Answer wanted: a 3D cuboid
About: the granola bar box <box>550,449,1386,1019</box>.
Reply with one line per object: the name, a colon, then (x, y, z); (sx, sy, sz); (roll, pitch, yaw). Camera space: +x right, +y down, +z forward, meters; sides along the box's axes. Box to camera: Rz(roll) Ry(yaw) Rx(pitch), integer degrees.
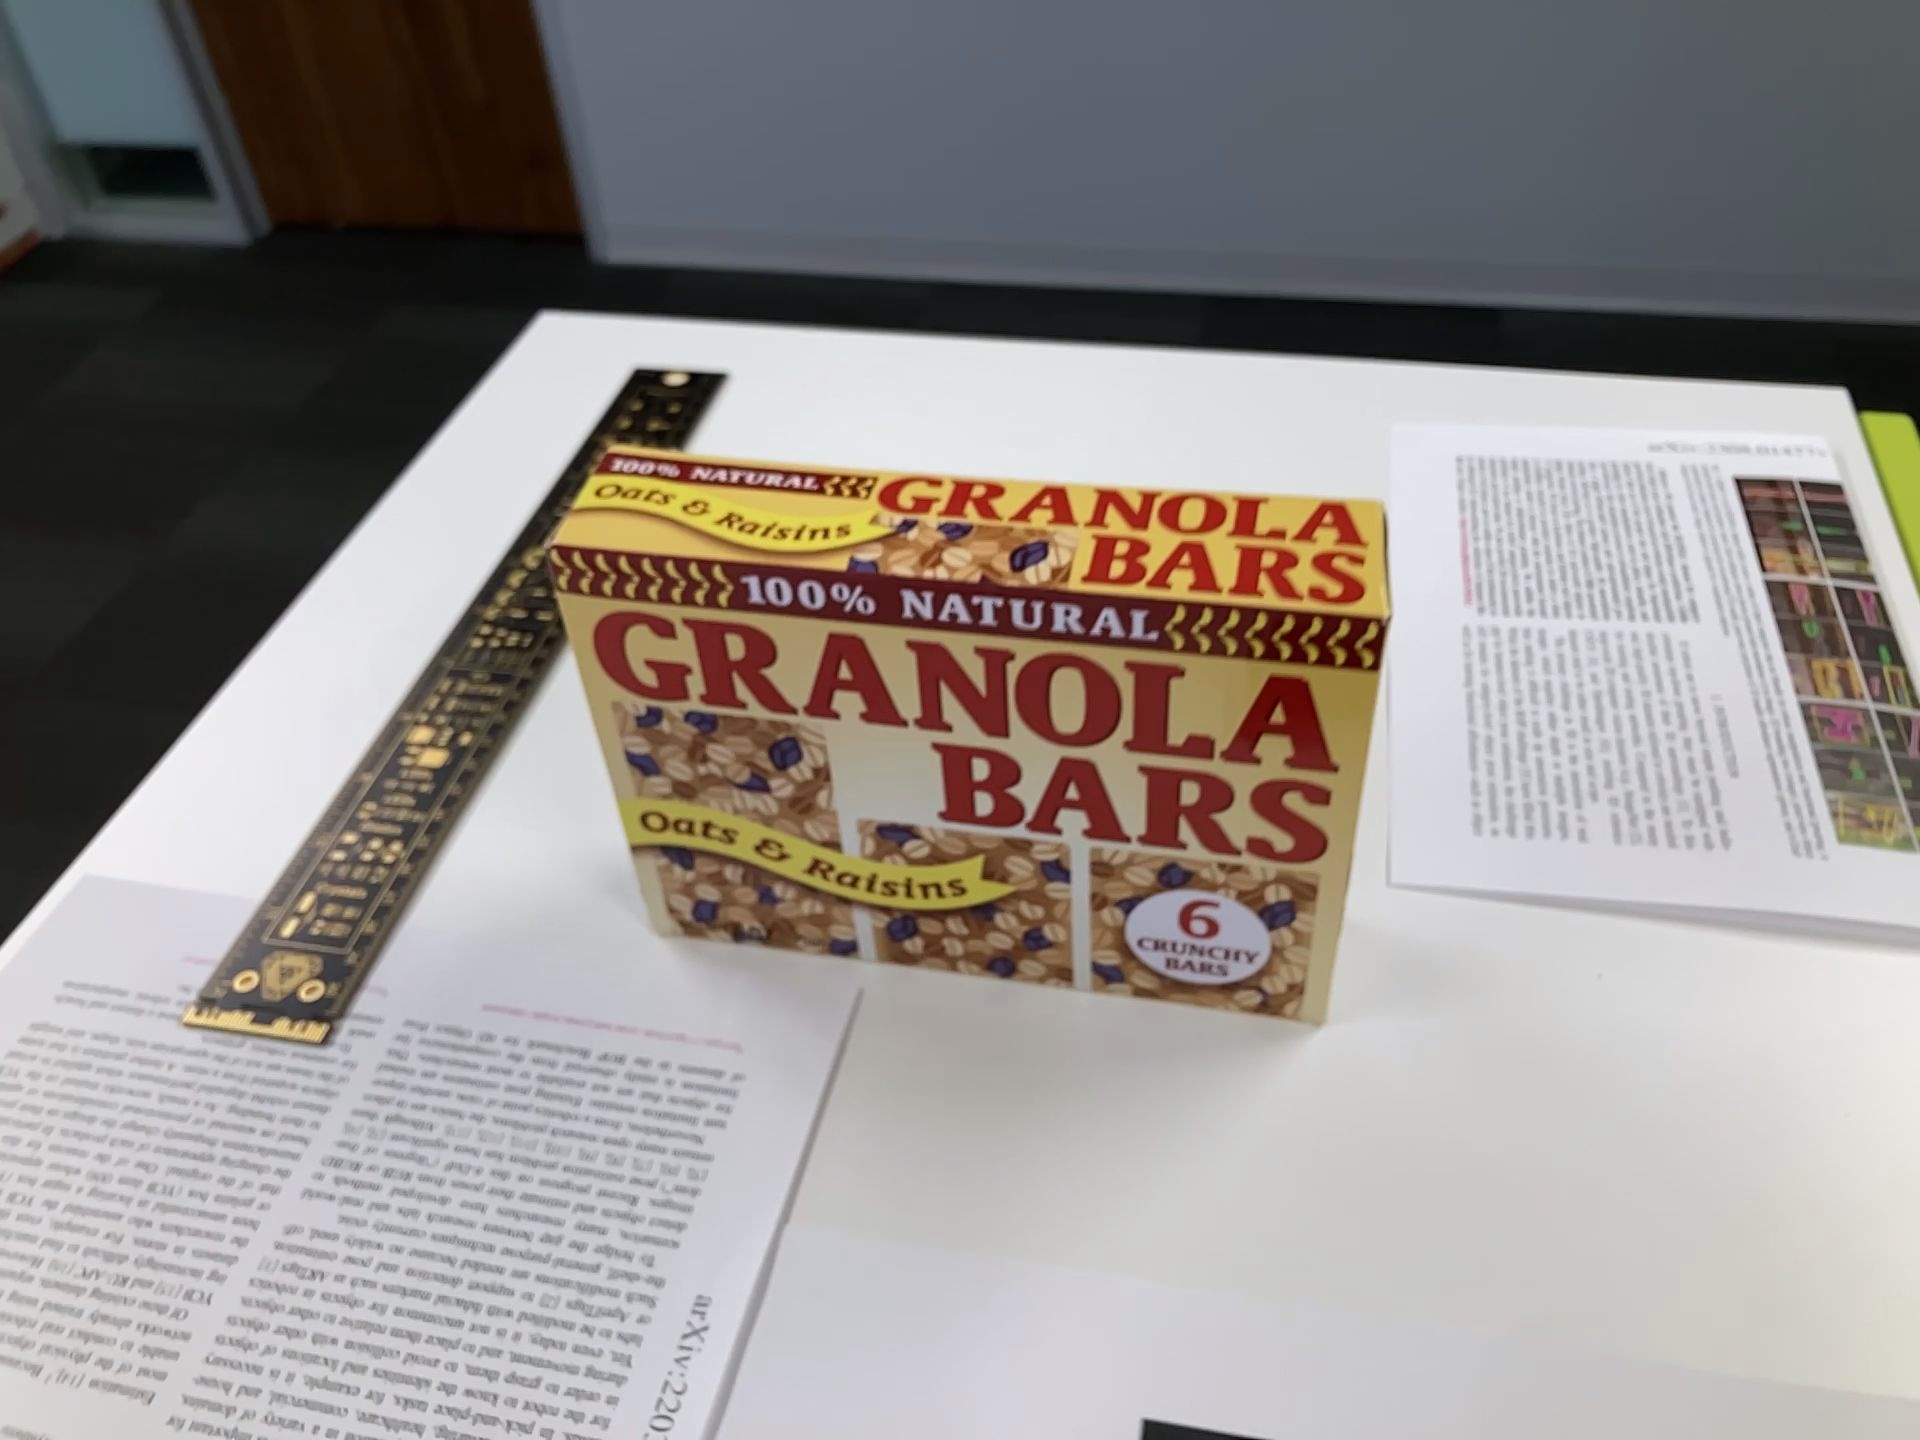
granola bar box: (0.004, 0.005, 0.361); (0.165, 0.124, 0.039); (6, 44, 11)
